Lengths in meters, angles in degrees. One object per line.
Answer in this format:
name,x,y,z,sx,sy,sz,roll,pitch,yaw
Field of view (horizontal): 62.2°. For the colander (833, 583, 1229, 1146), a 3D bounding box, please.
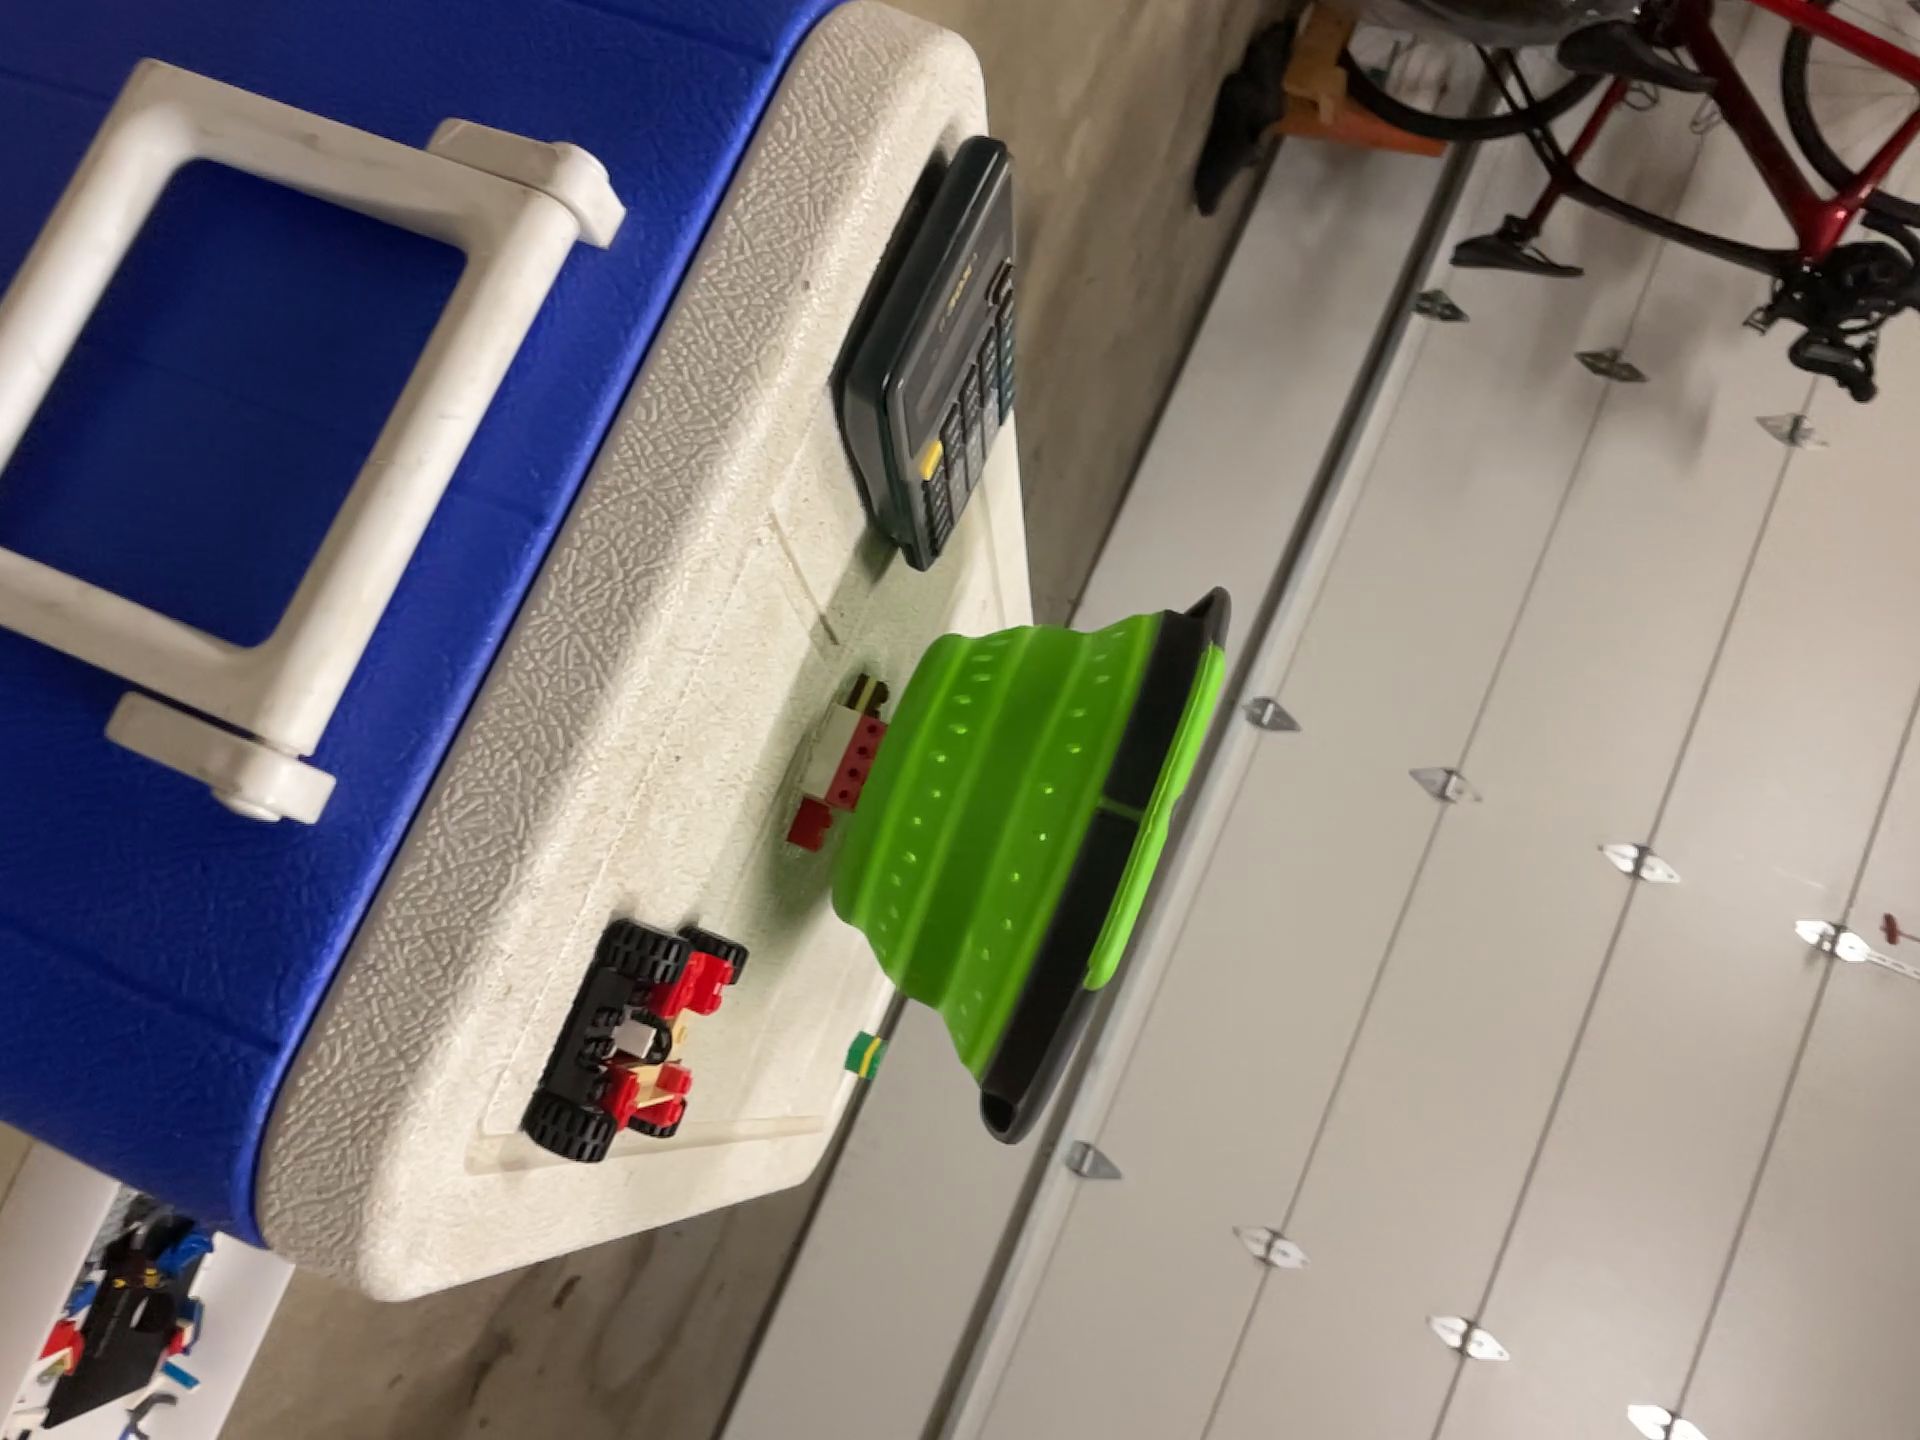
colander,0.014,0.054,0.638,0.396,0.094,0.204,95,15,-77
